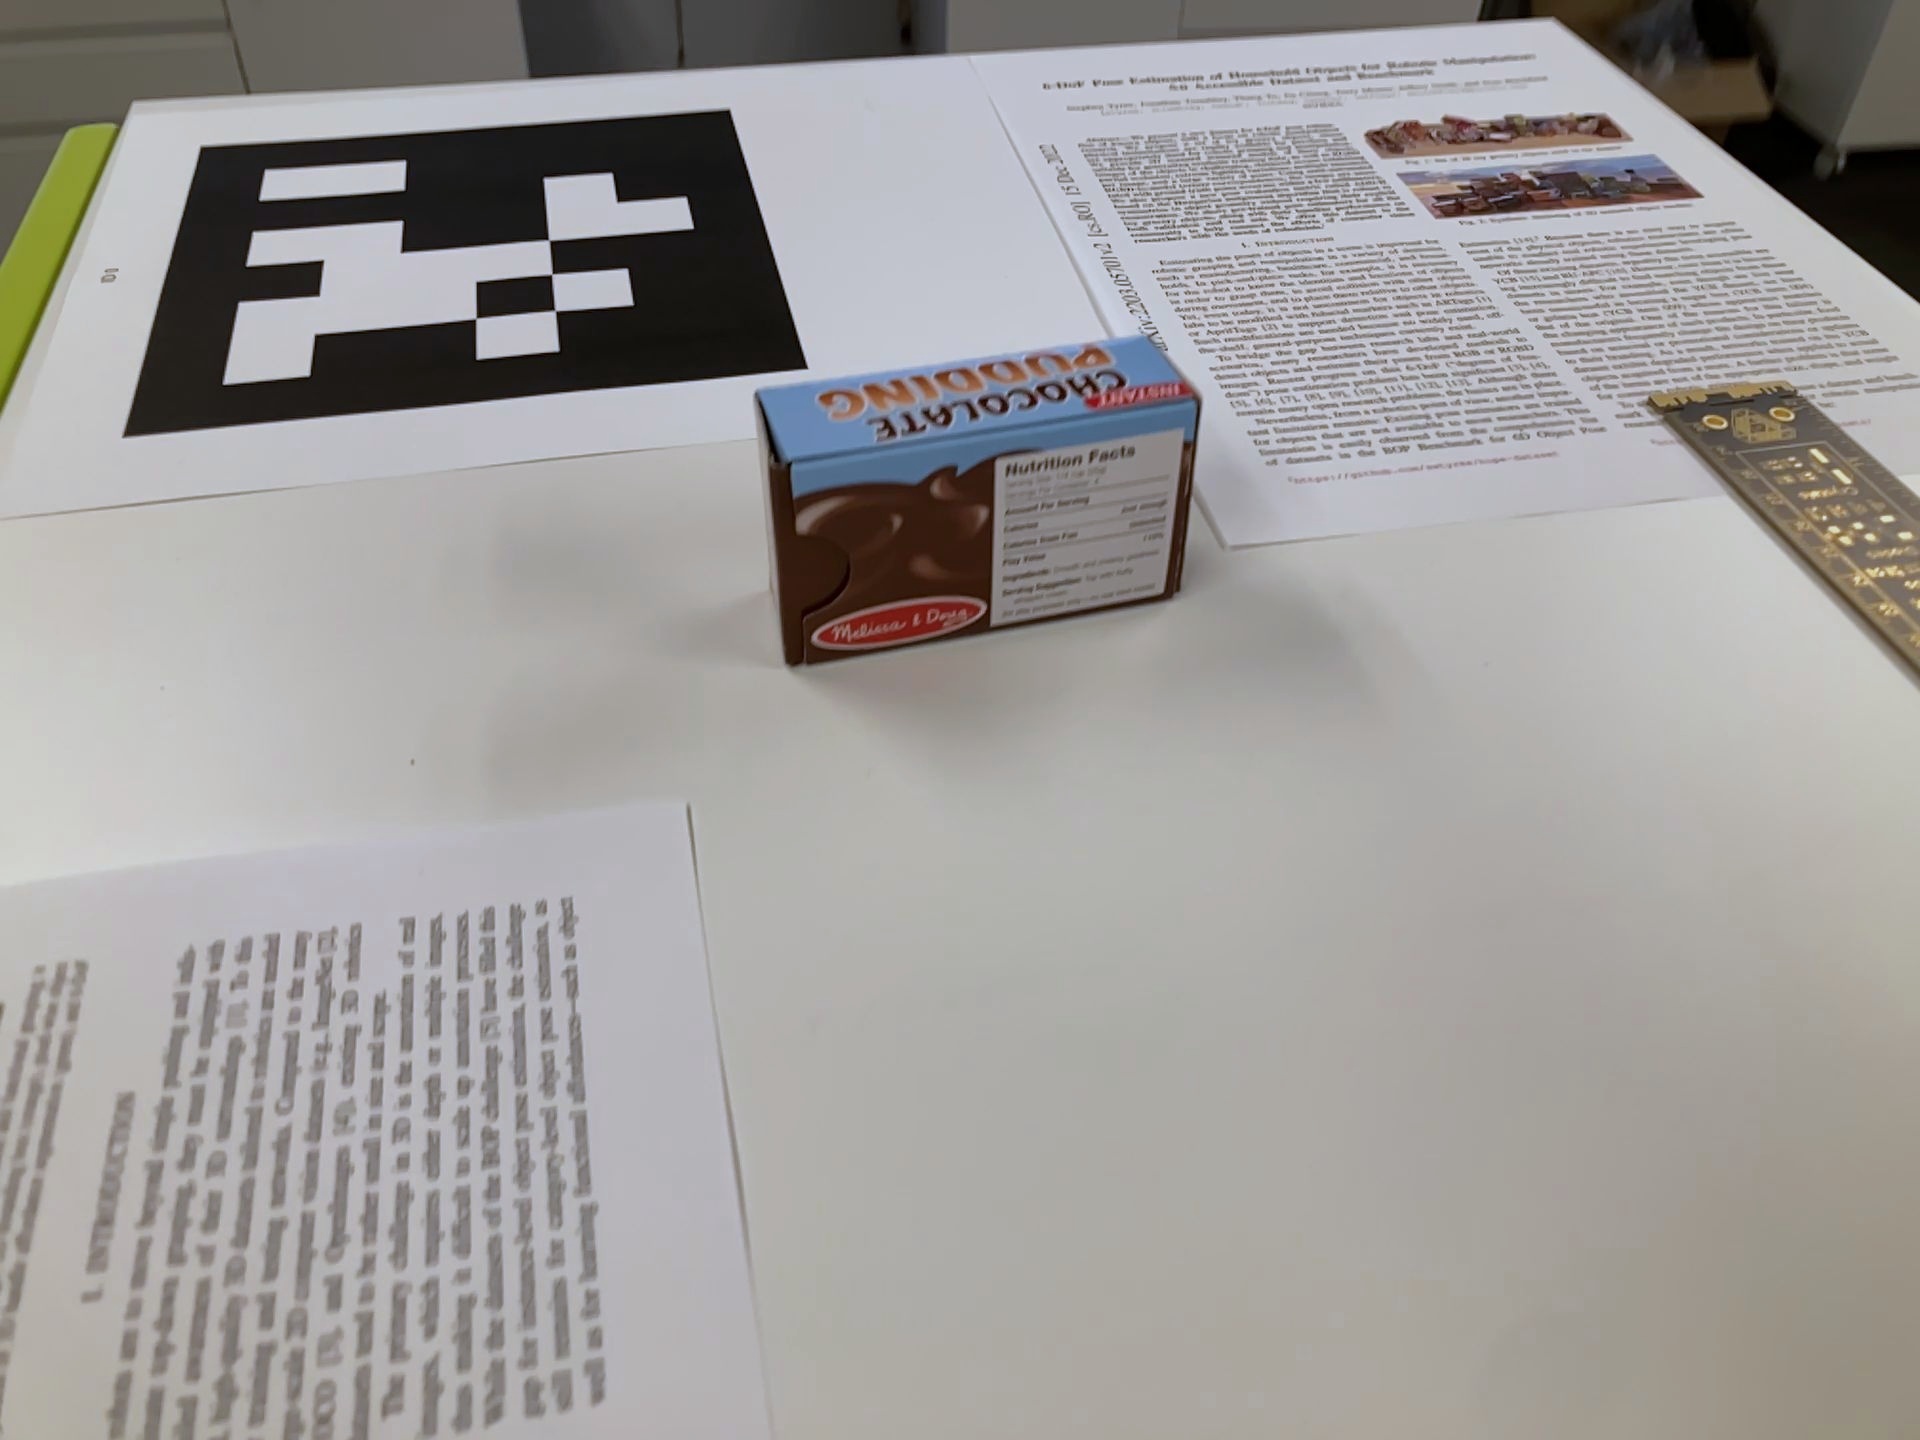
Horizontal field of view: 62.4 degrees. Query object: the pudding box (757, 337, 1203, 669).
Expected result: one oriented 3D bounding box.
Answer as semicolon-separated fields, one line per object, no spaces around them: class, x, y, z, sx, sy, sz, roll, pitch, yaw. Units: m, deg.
pudding box;0.003;-0.044;0.317;0.083;0.049;0.030;-11;43;-12
